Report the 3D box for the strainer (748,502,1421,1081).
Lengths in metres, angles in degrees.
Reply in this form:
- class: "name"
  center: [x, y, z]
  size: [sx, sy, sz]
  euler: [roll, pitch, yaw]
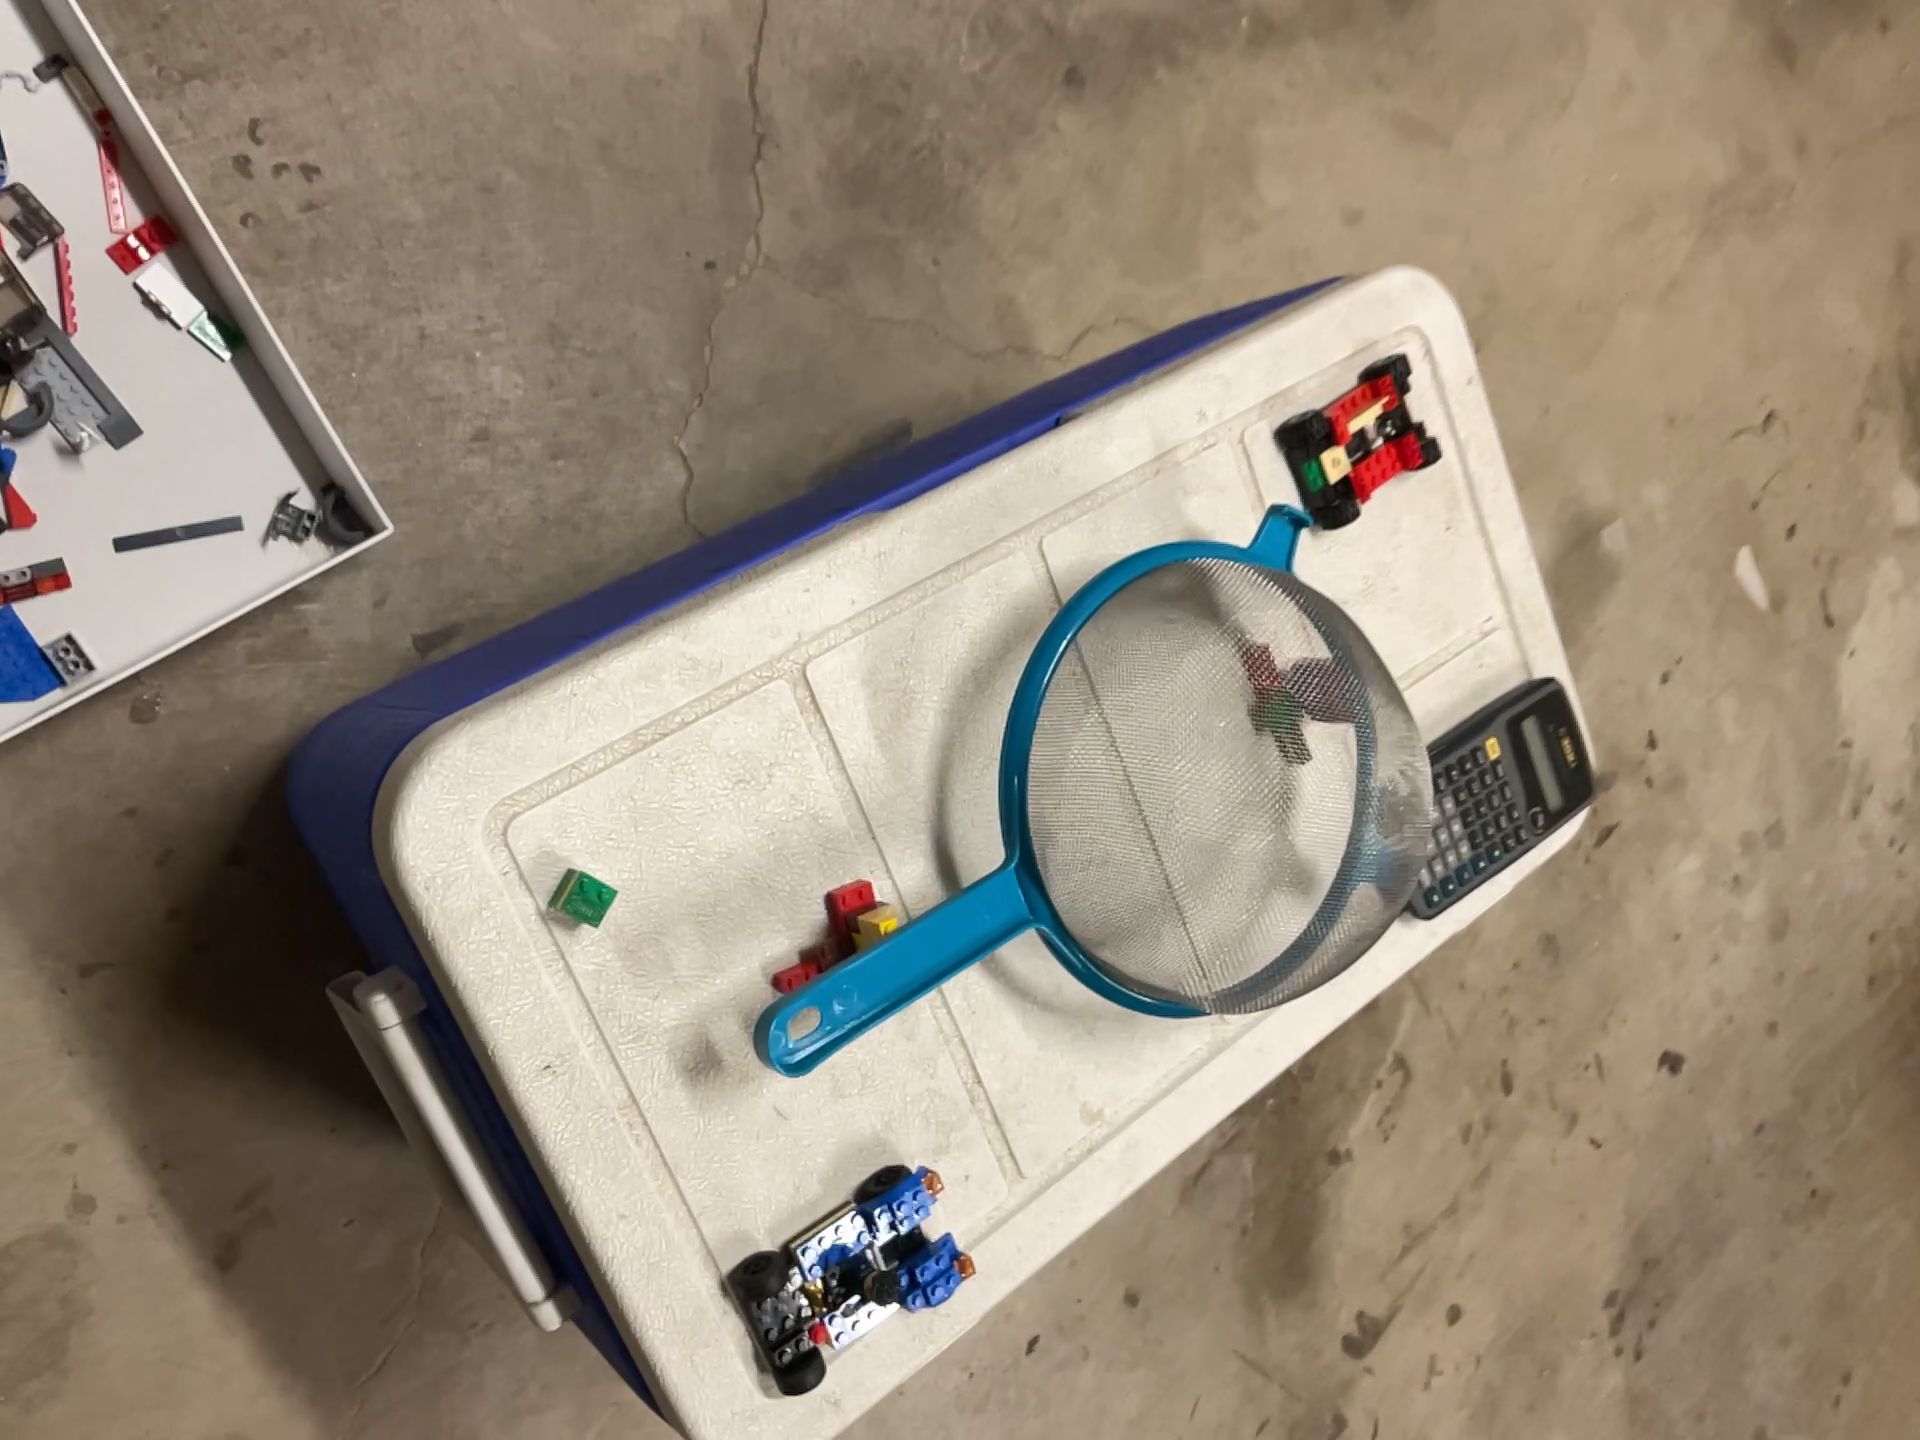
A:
- class: "strainer"
  center: [0.075, 0.054, 0.639]
  size: [0.340, 0.095, 0.211]
  euler: [-29, 106, -29]
